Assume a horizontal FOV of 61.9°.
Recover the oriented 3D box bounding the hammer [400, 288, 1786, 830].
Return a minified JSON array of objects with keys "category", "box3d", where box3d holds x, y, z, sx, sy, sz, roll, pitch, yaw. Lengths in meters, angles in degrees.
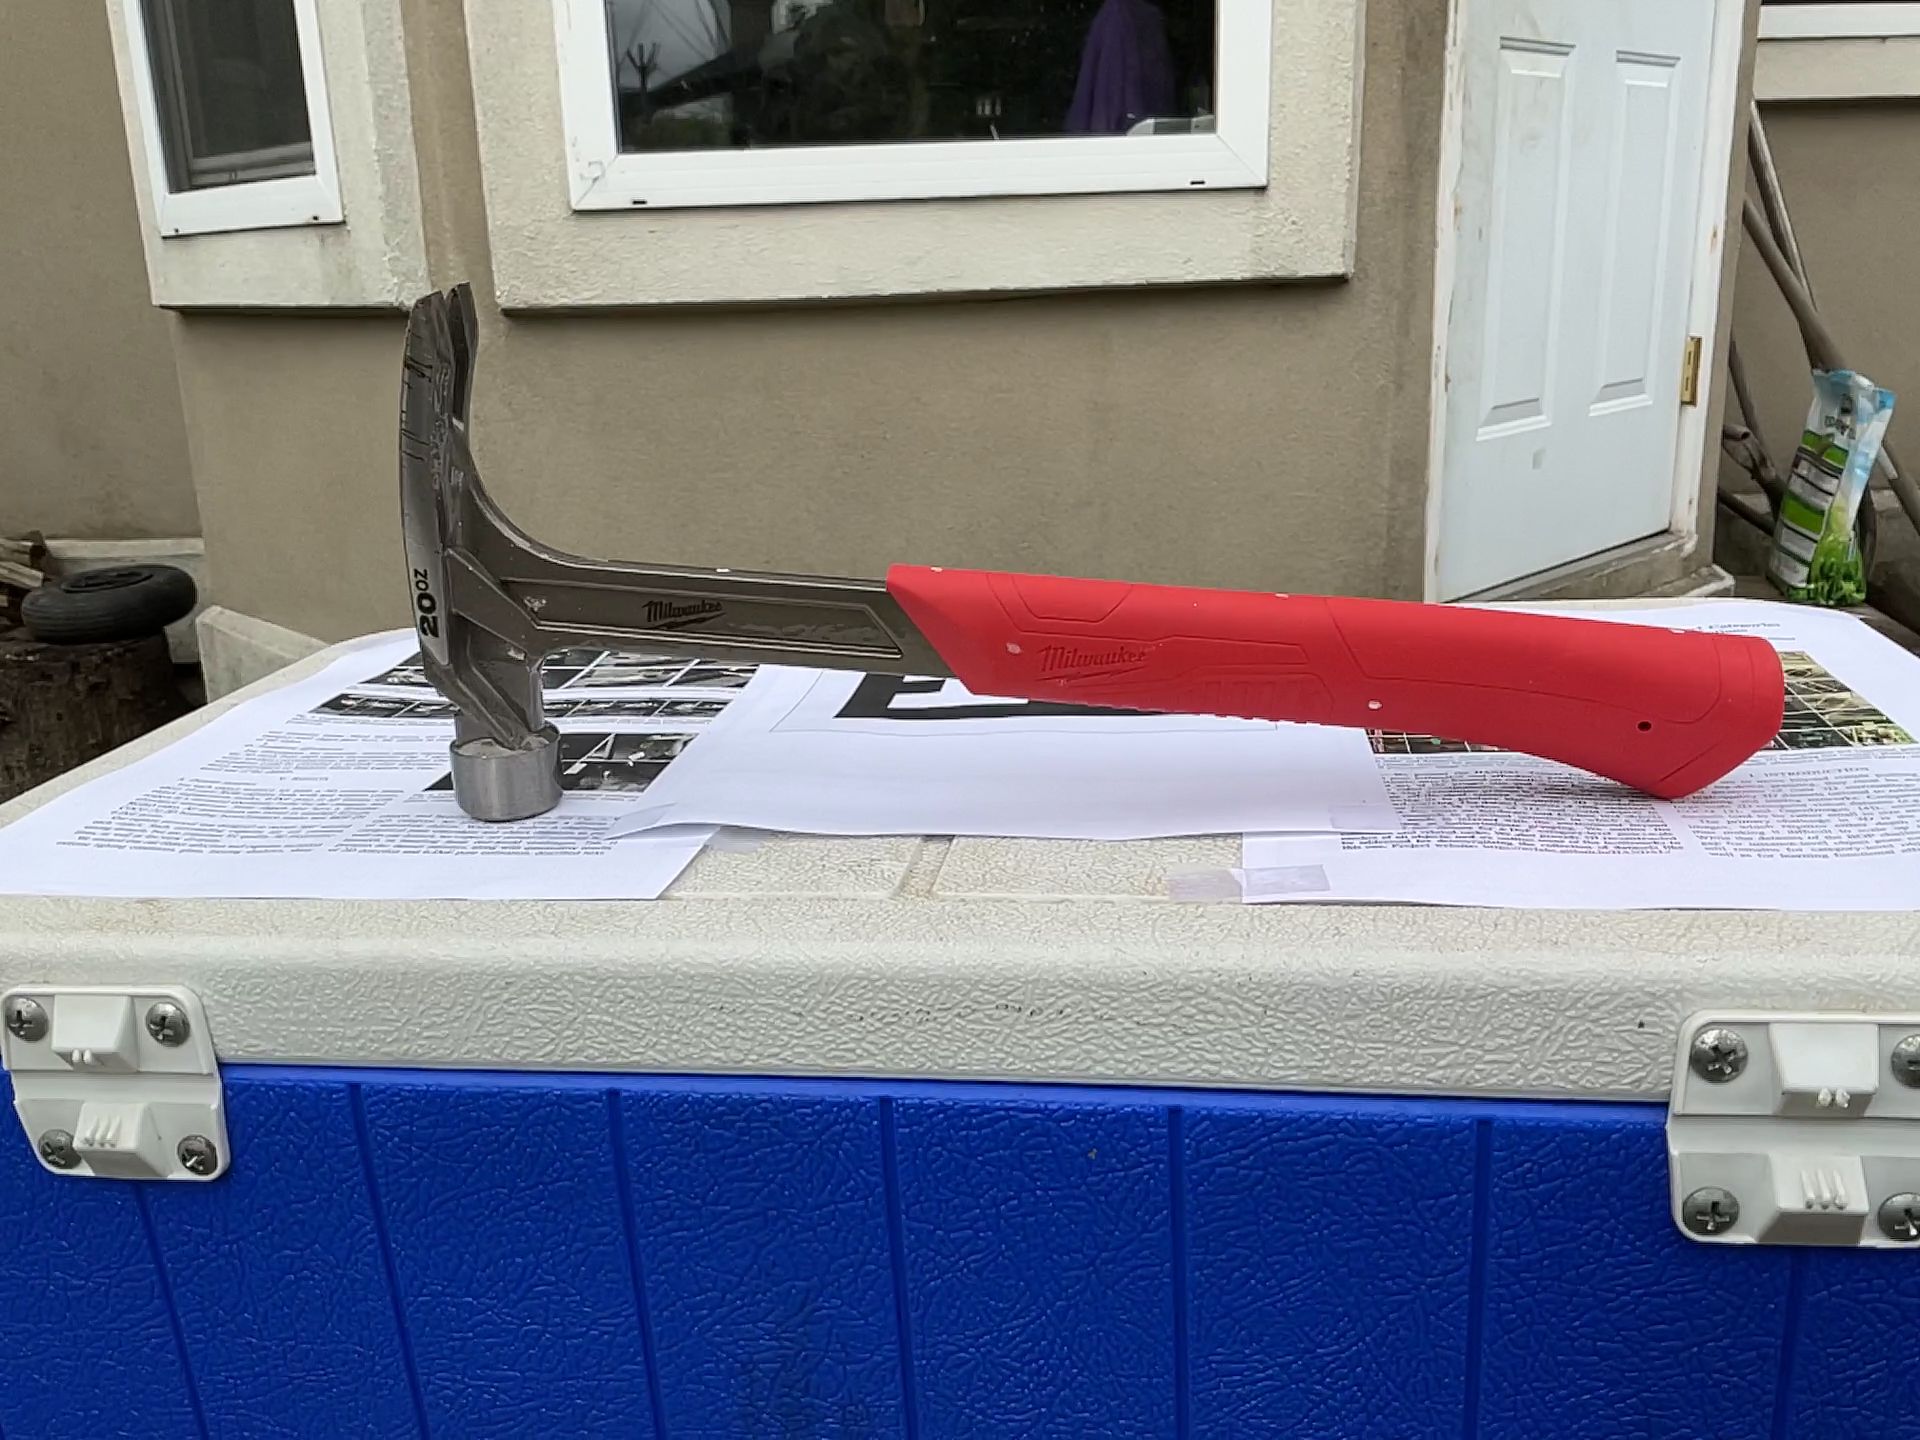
[{"category":"hammer","box3d":[0.030,-0.029,0.428,0.359,0.149,0.037,4,23,5]}]
